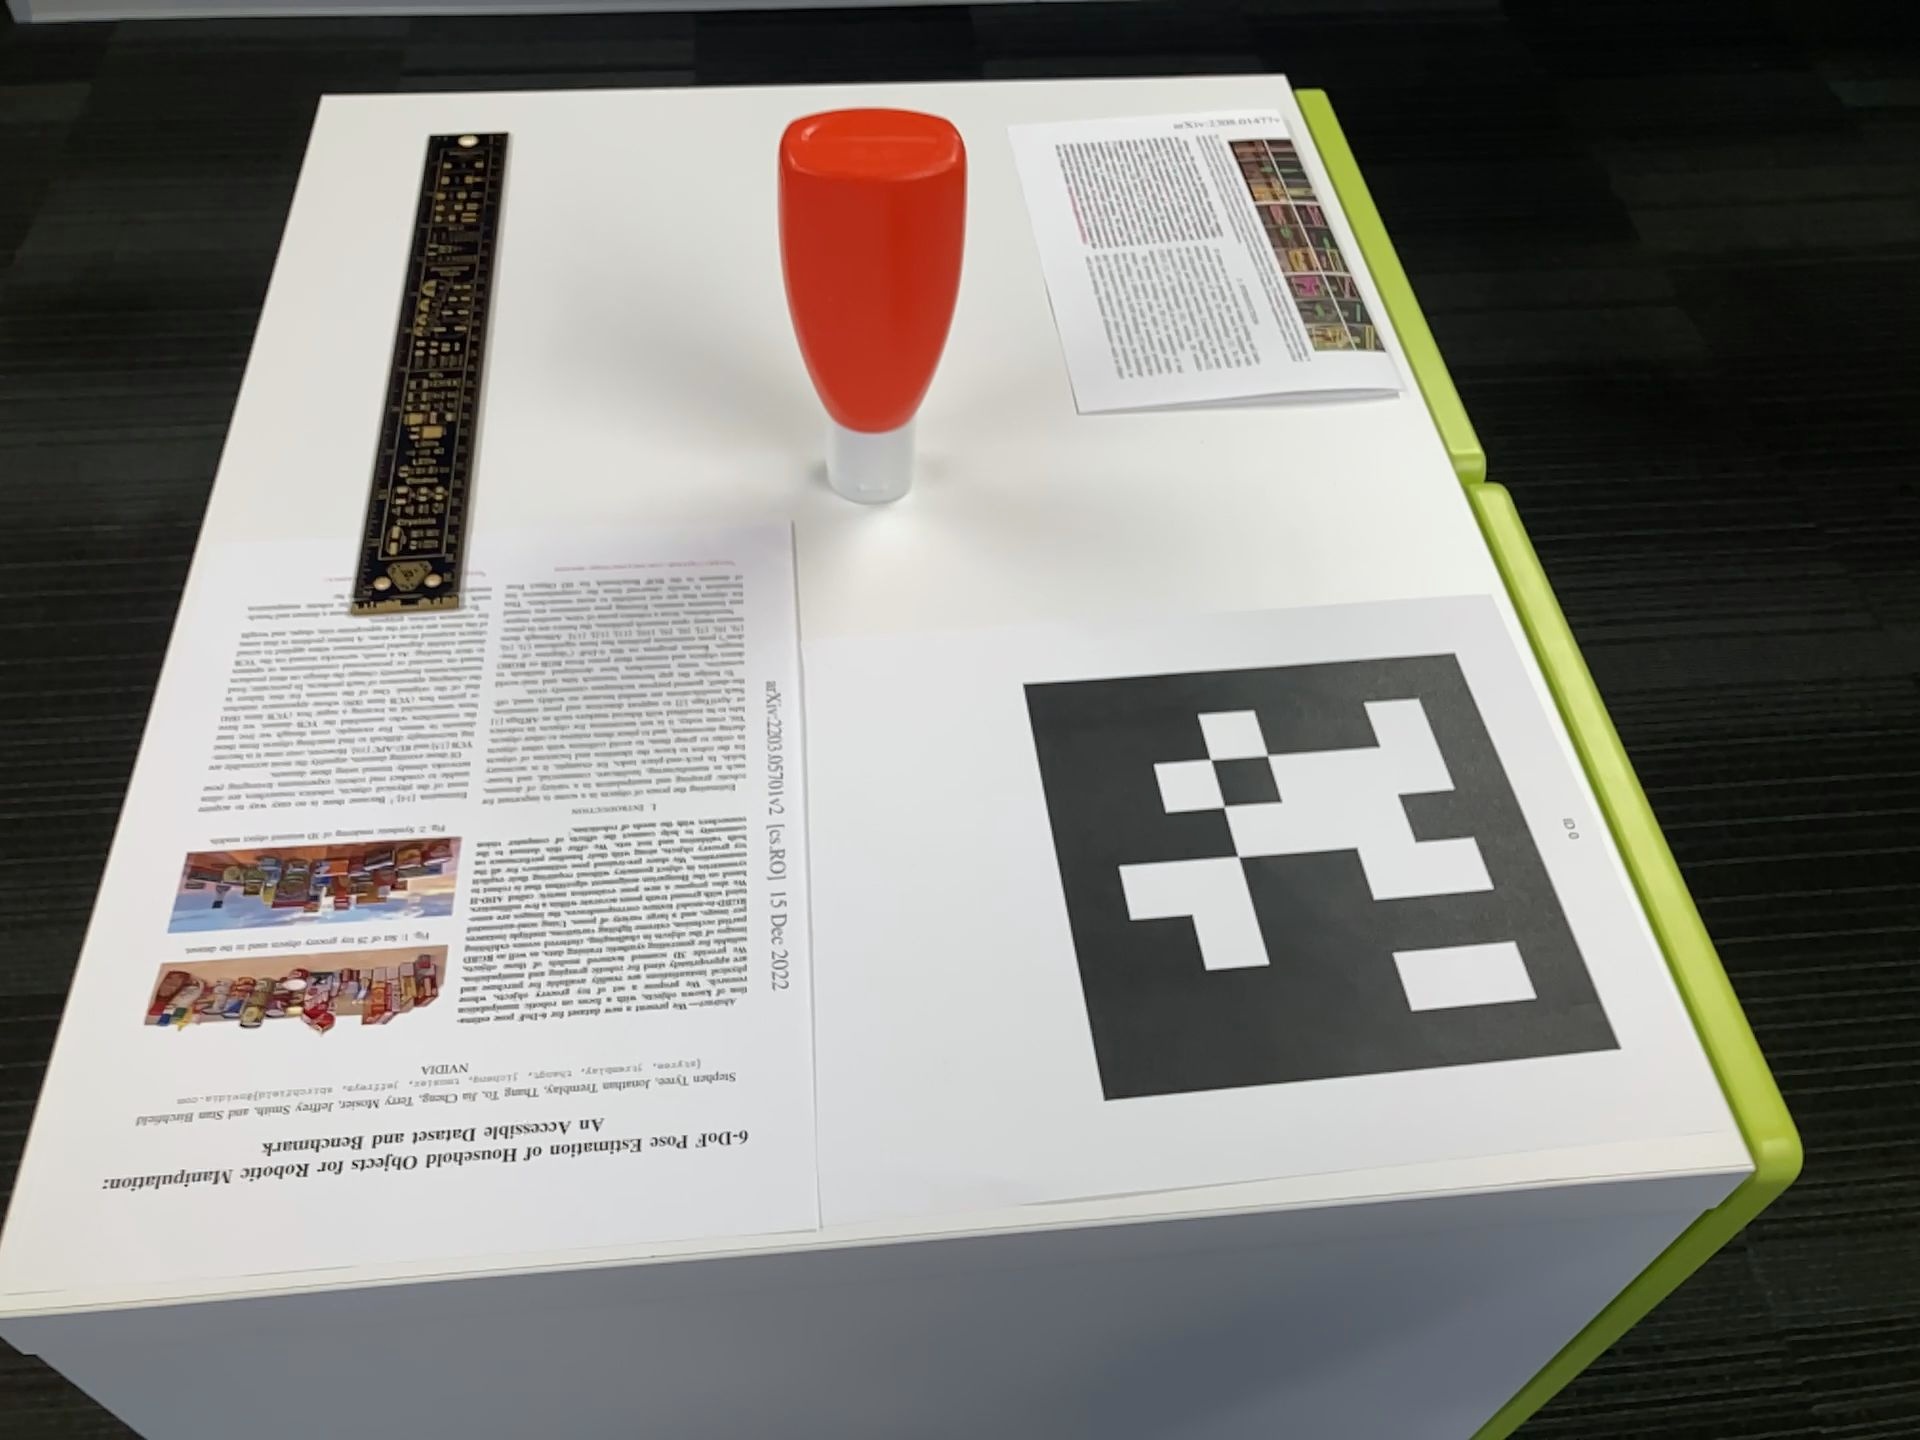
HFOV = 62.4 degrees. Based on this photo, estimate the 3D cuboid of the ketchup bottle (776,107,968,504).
[{"bbox_3d":[-0.032,-0.145,0.577,0.065,0.149,0.043,-2,51,-6],"label":"ketchup bottle"}]
